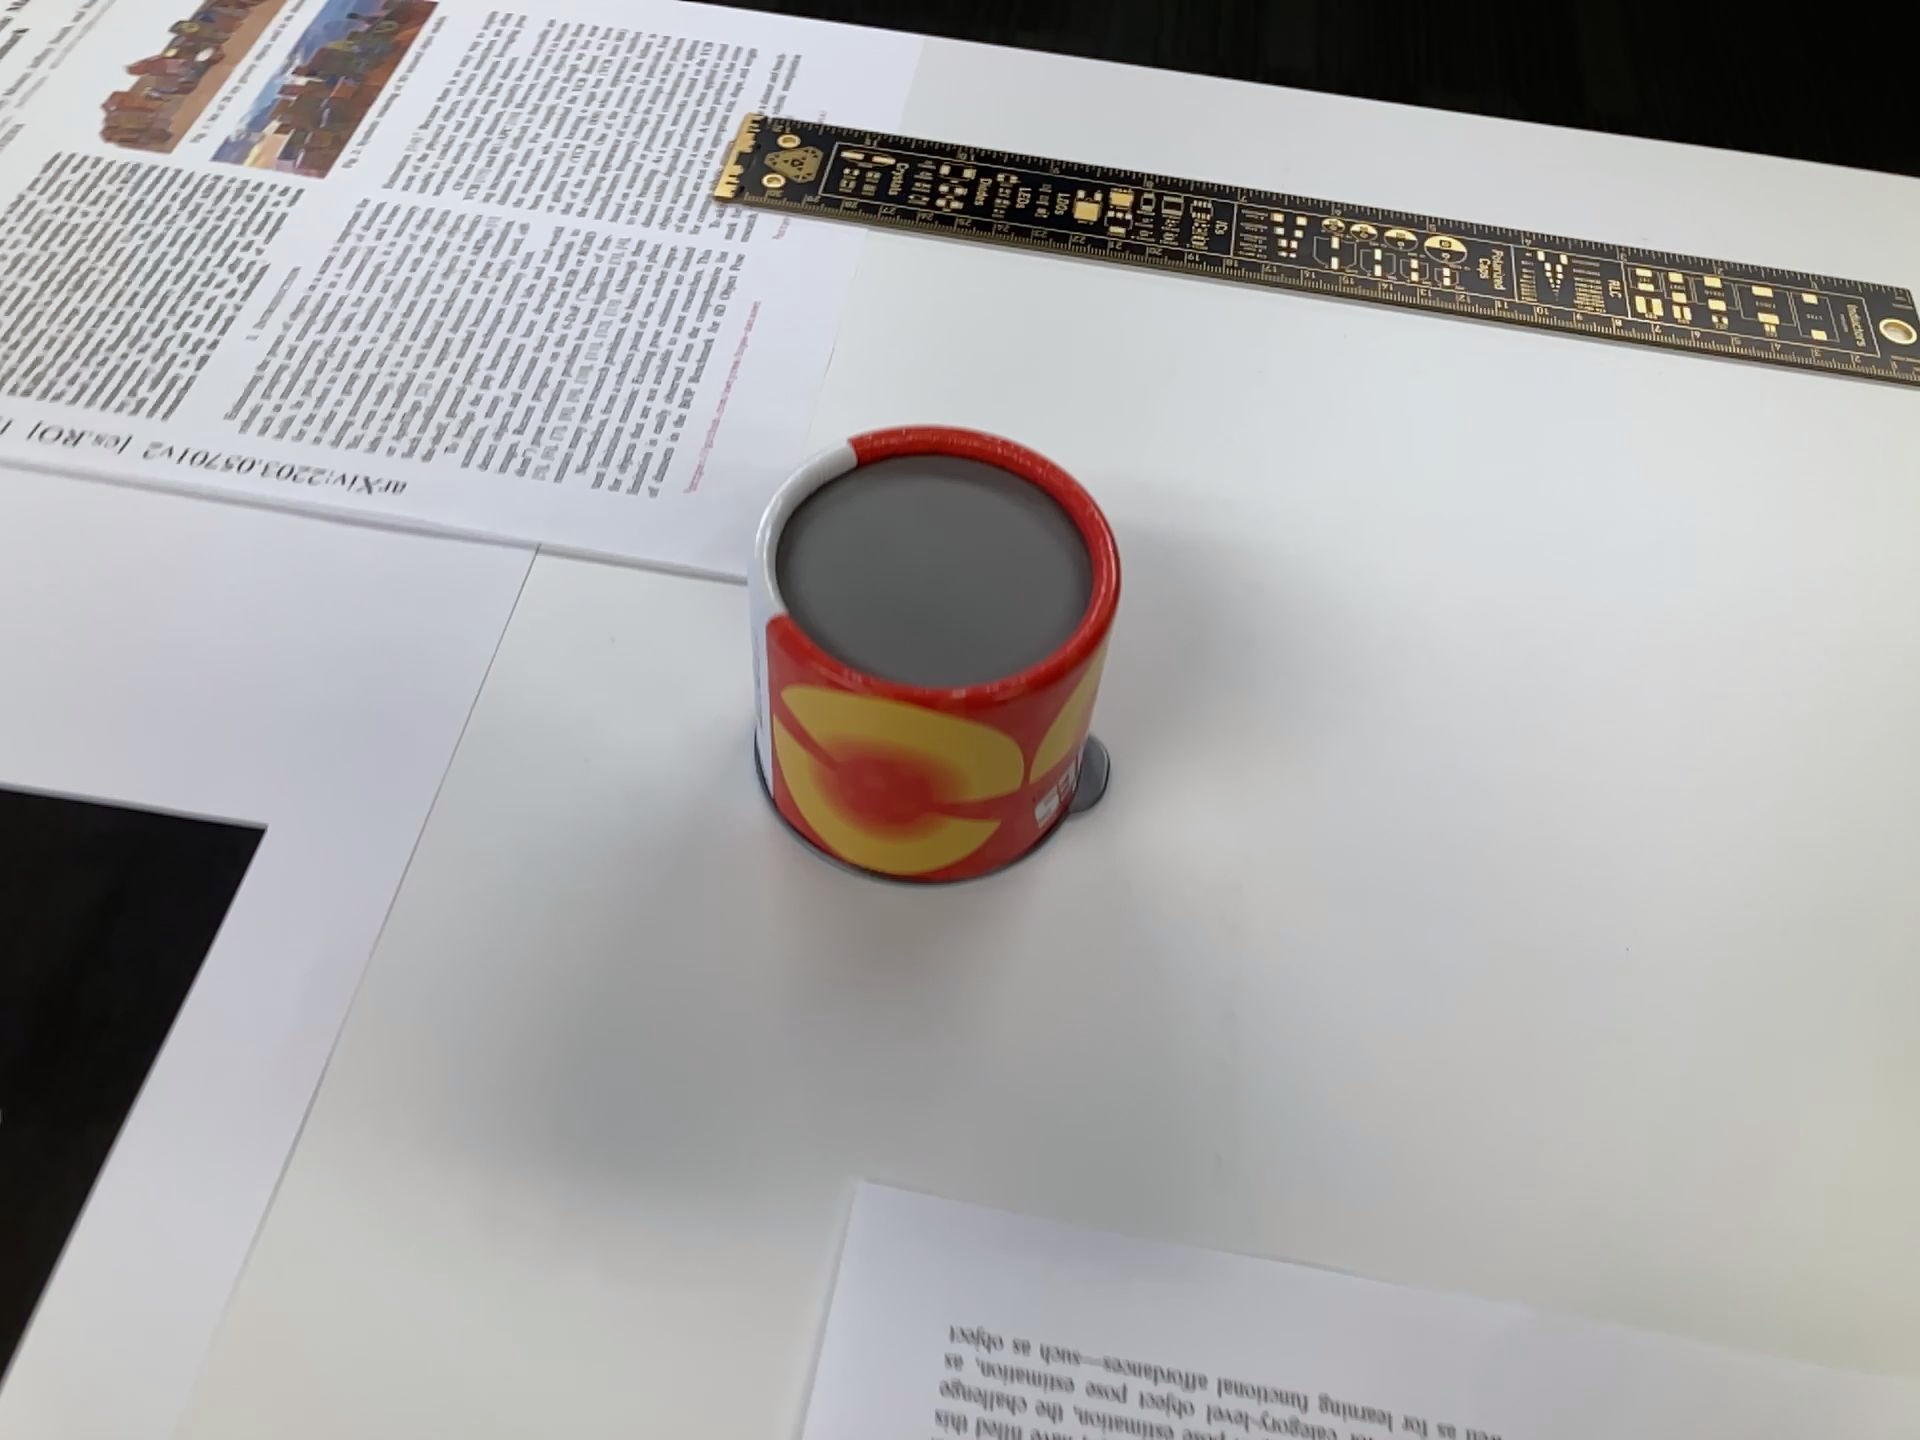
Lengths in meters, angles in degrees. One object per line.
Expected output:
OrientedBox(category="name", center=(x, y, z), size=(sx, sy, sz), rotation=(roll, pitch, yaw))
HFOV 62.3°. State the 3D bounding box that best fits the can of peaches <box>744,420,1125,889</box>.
OrientedBox(category="can of peaches", center=(-0.004, -0.012, 0.291), size=(0.071, 0.058, 0.071), rotation=(2, 53, -3))
